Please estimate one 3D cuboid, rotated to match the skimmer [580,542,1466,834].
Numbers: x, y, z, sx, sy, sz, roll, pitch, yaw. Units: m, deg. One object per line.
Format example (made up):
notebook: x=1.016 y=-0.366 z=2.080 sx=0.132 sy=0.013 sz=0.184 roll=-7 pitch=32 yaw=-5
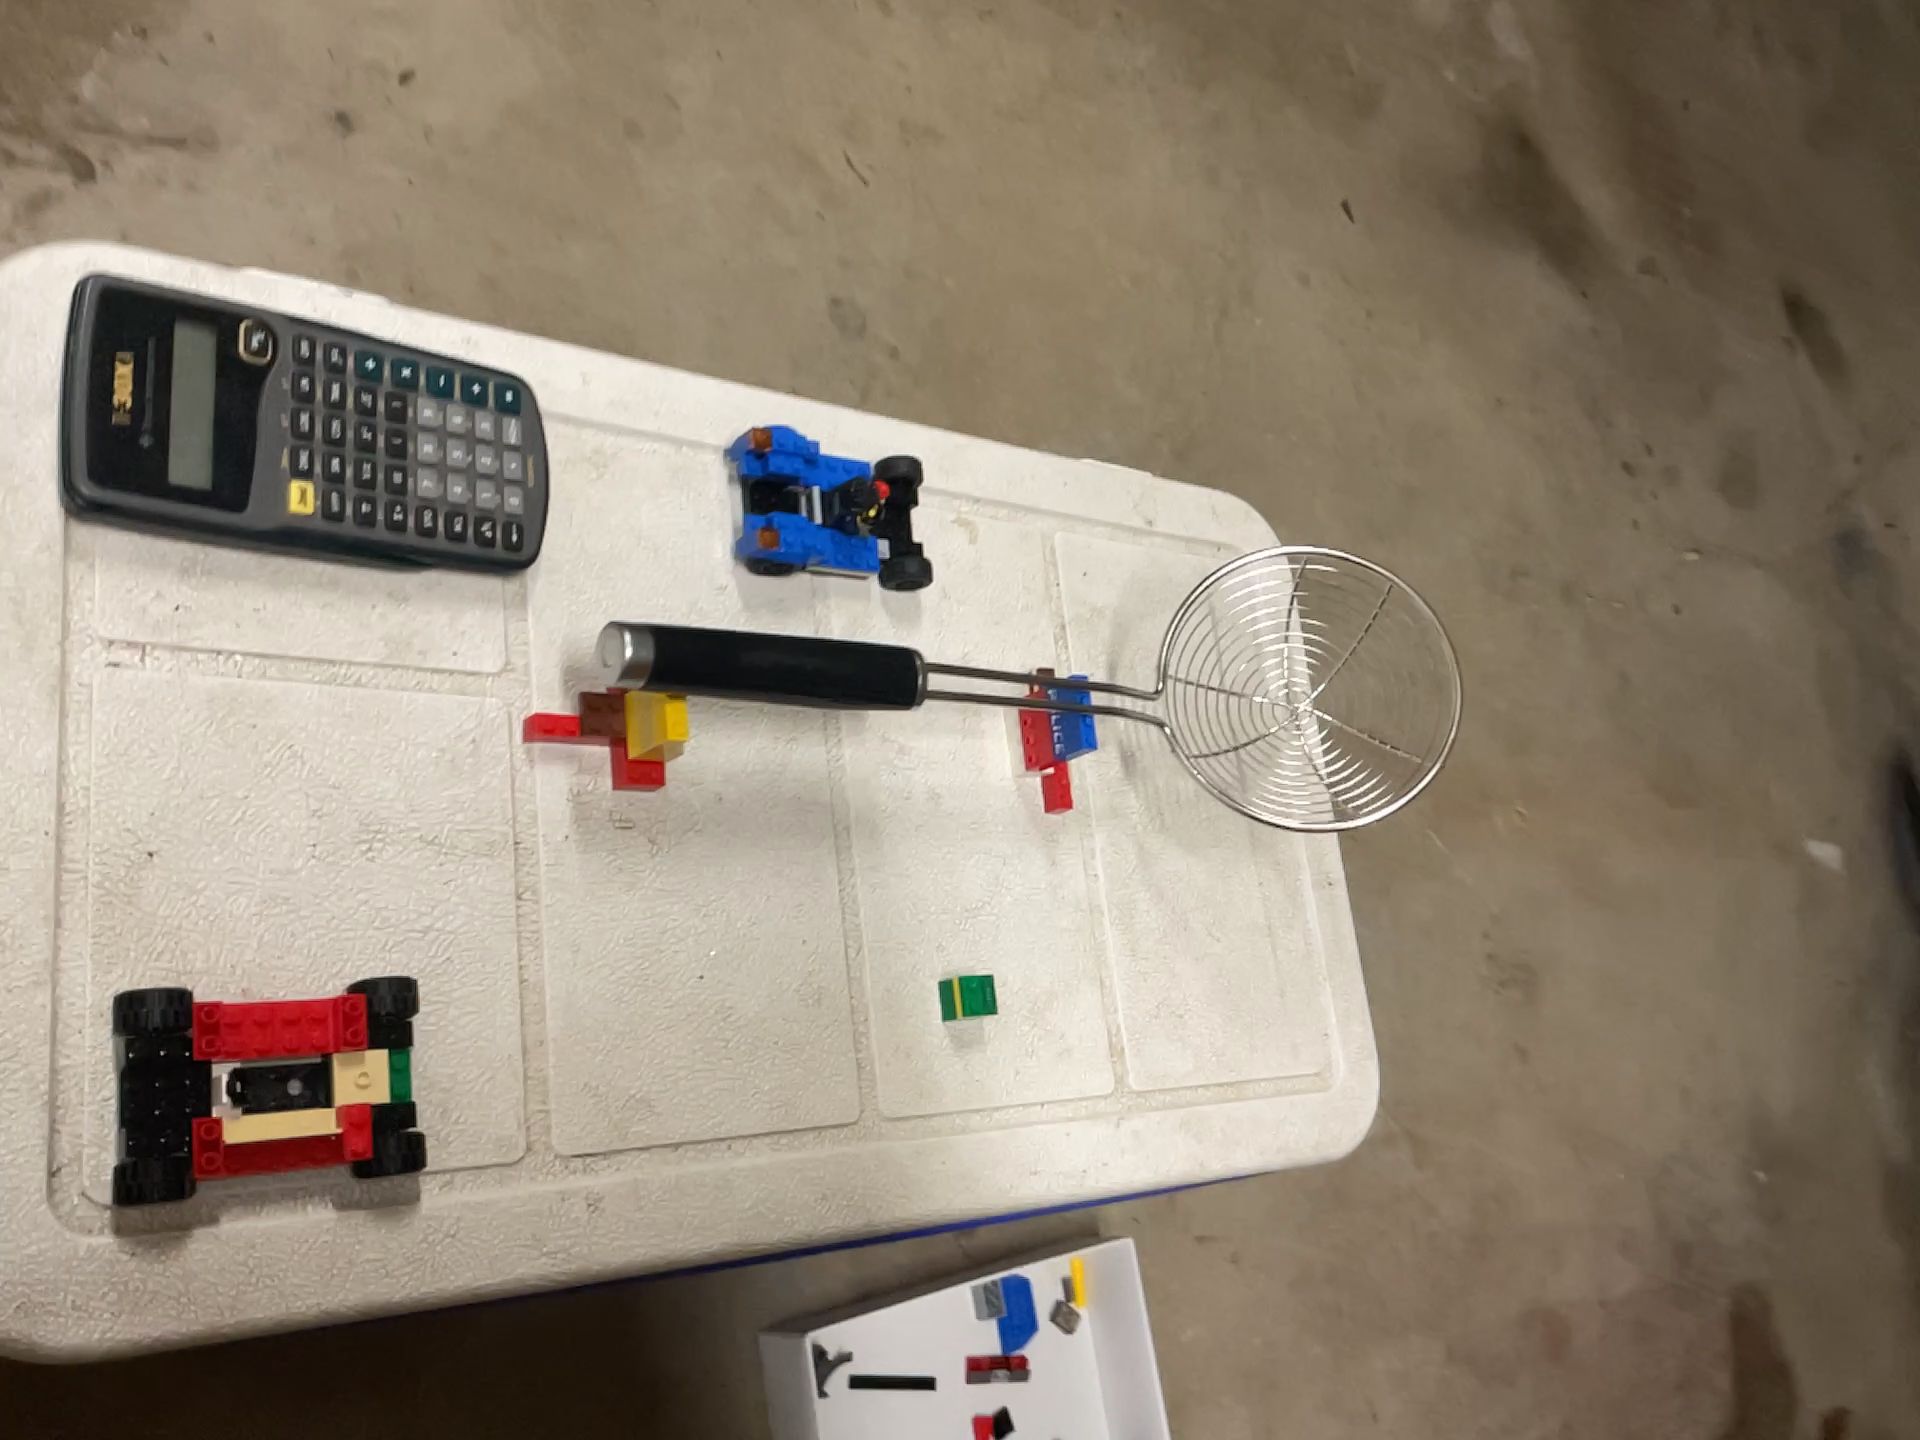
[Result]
skimmer: x=0.044 y=-0.021 z=0.590 sx=0.363 sy=0.090 sz=0.127 roll=4 pitch=70 yaw=-39
